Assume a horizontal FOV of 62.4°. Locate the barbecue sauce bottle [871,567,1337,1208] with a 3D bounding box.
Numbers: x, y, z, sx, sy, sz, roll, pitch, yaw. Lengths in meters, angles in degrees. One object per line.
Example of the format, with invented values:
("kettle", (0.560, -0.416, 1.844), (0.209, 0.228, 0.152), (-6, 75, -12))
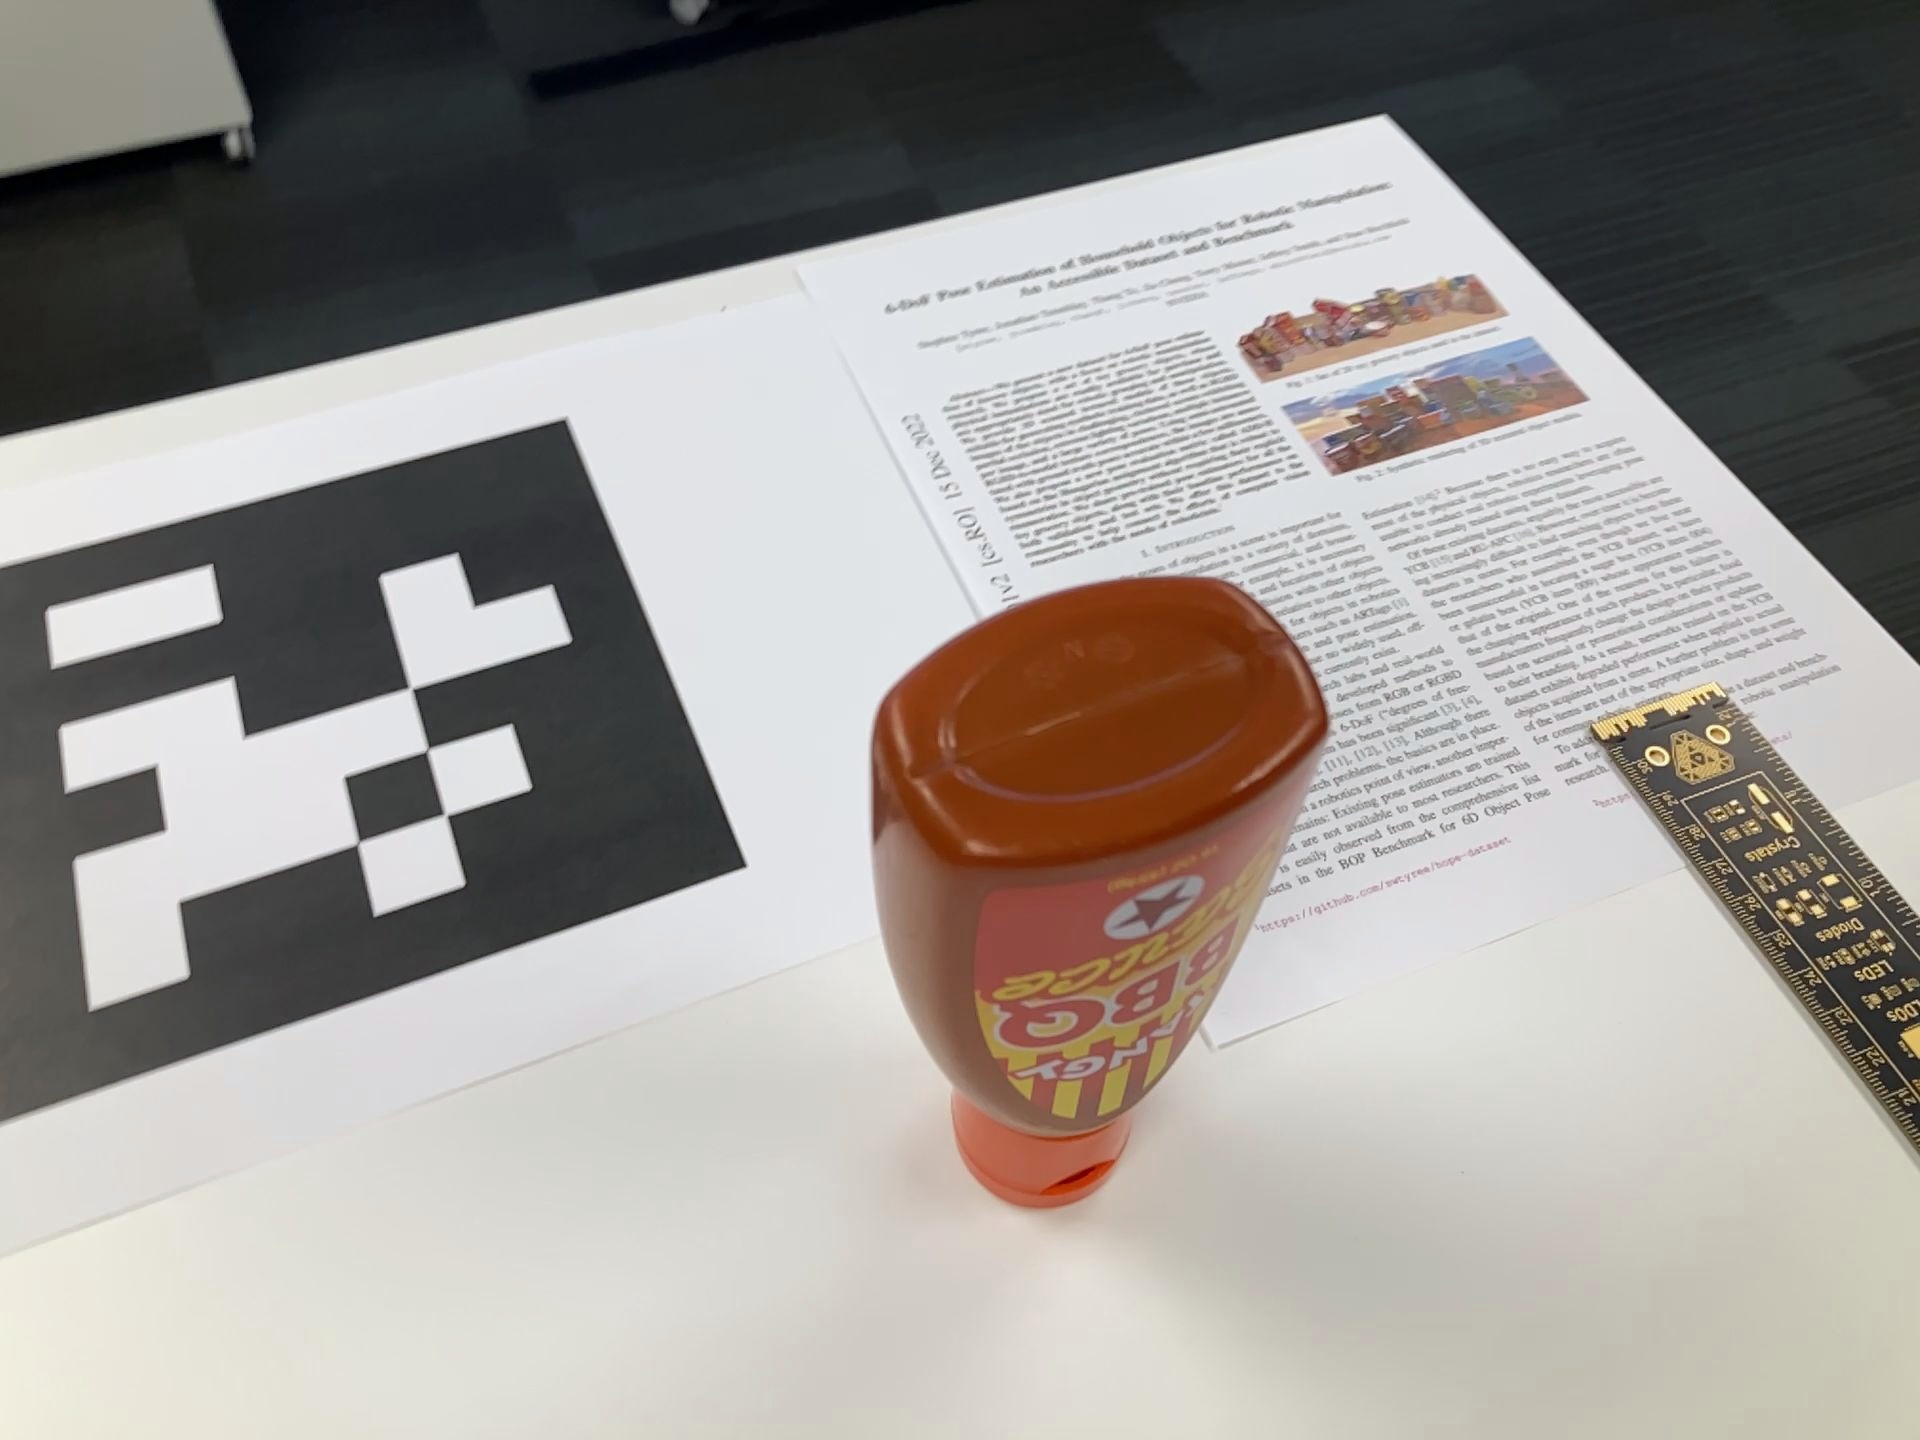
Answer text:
("barbecue sauce bottle", (0.018, 0.040, 0.270), (0.065, 0.148, 0.043), (-19, 57, -15))
